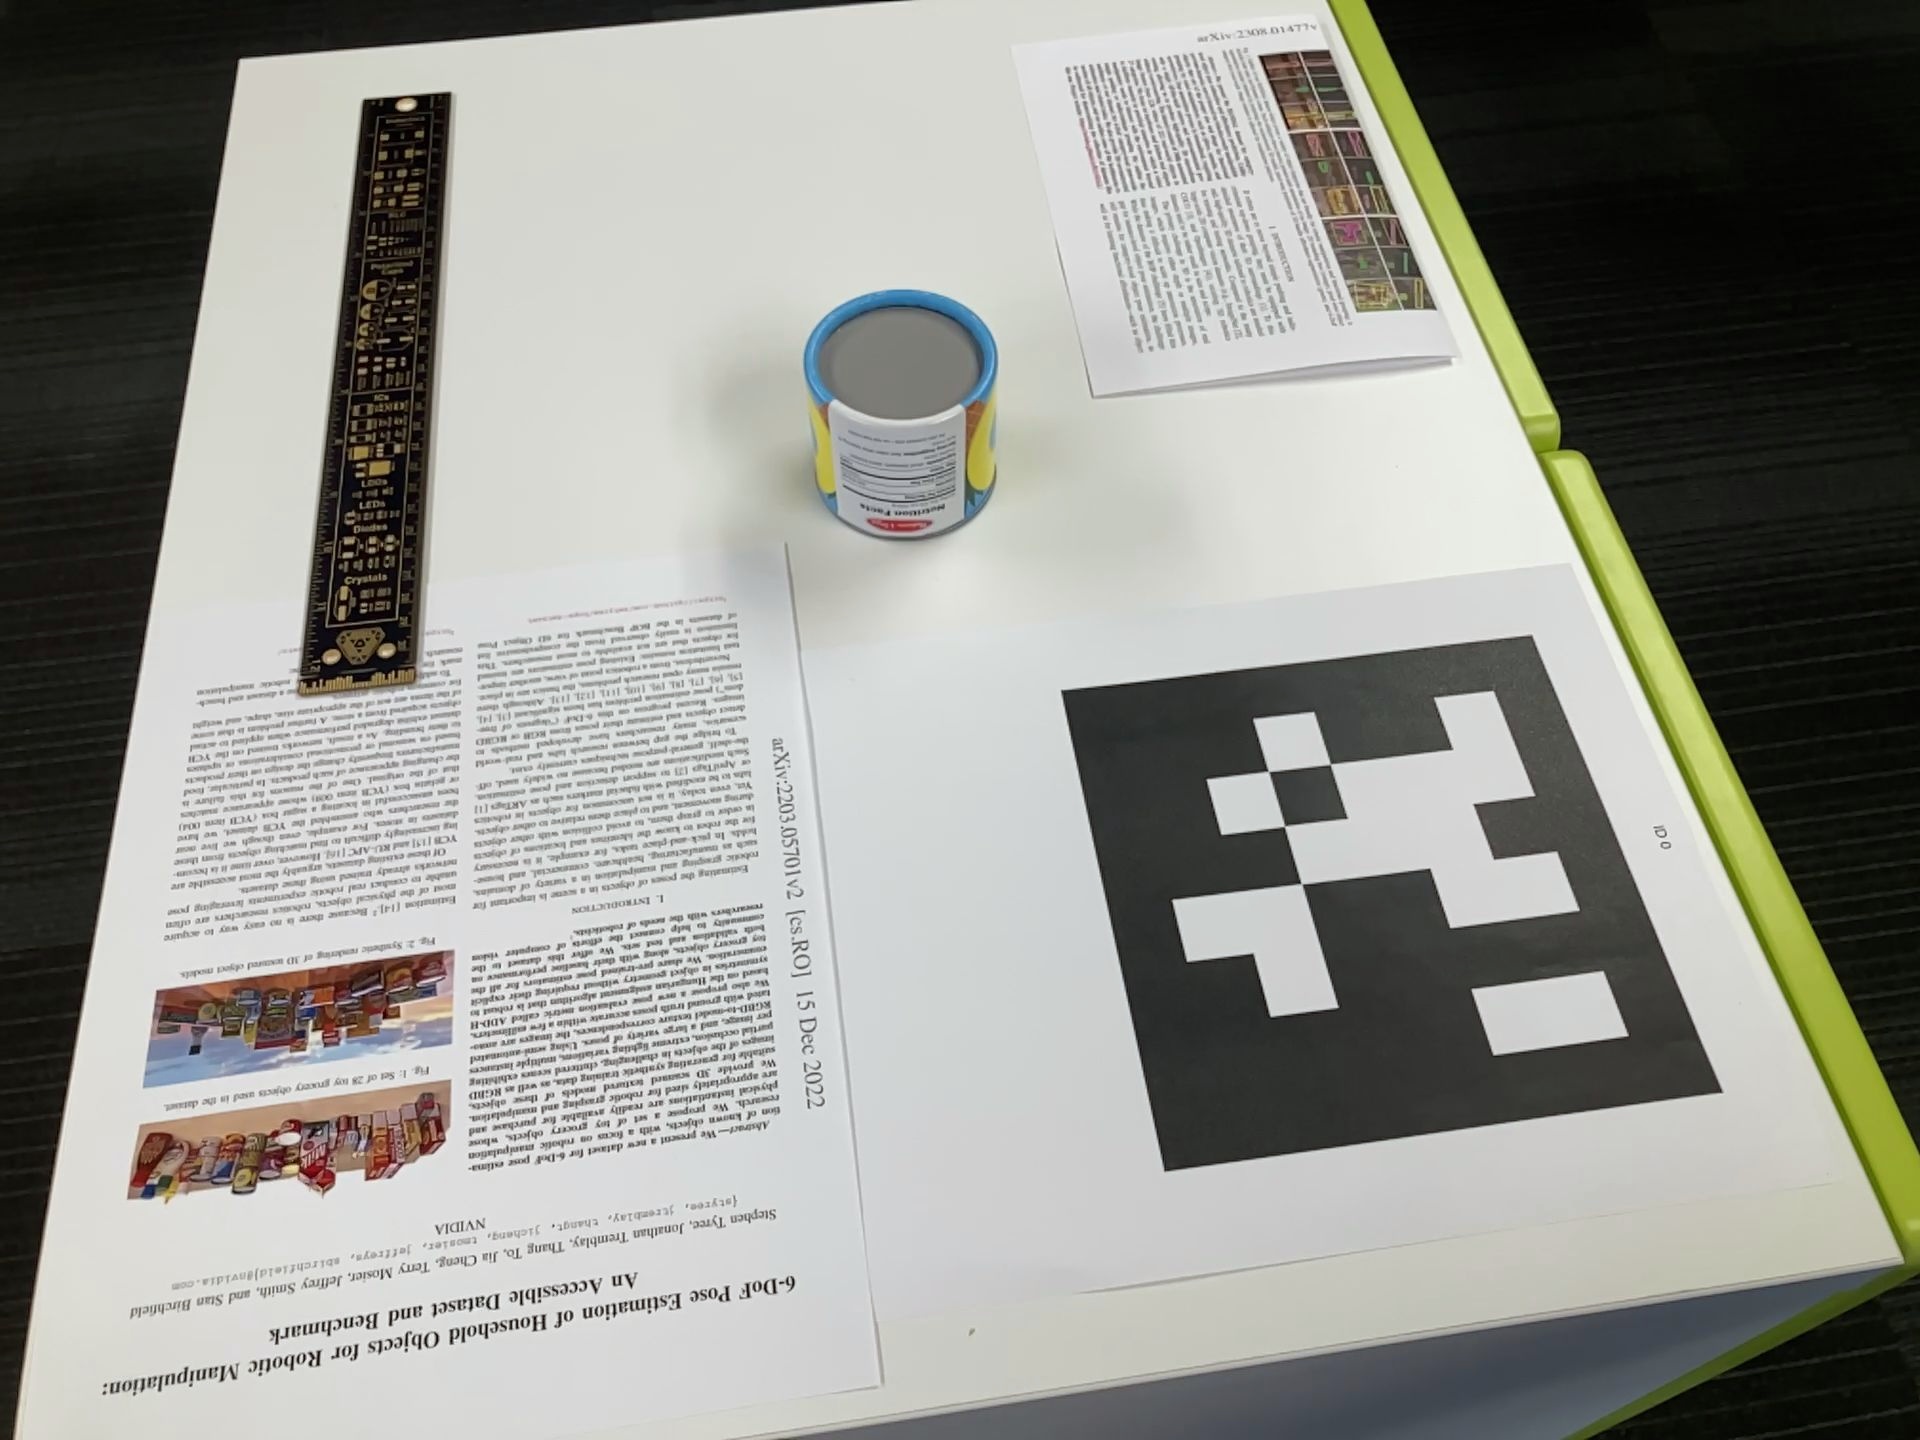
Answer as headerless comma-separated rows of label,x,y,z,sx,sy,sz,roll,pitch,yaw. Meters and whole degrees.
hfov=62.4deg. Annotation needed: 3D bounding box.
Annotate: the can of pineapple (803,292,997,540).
can of pineapple,-0.020,-0.109,0.558,0.071,0.058,0.071,0,57,0
